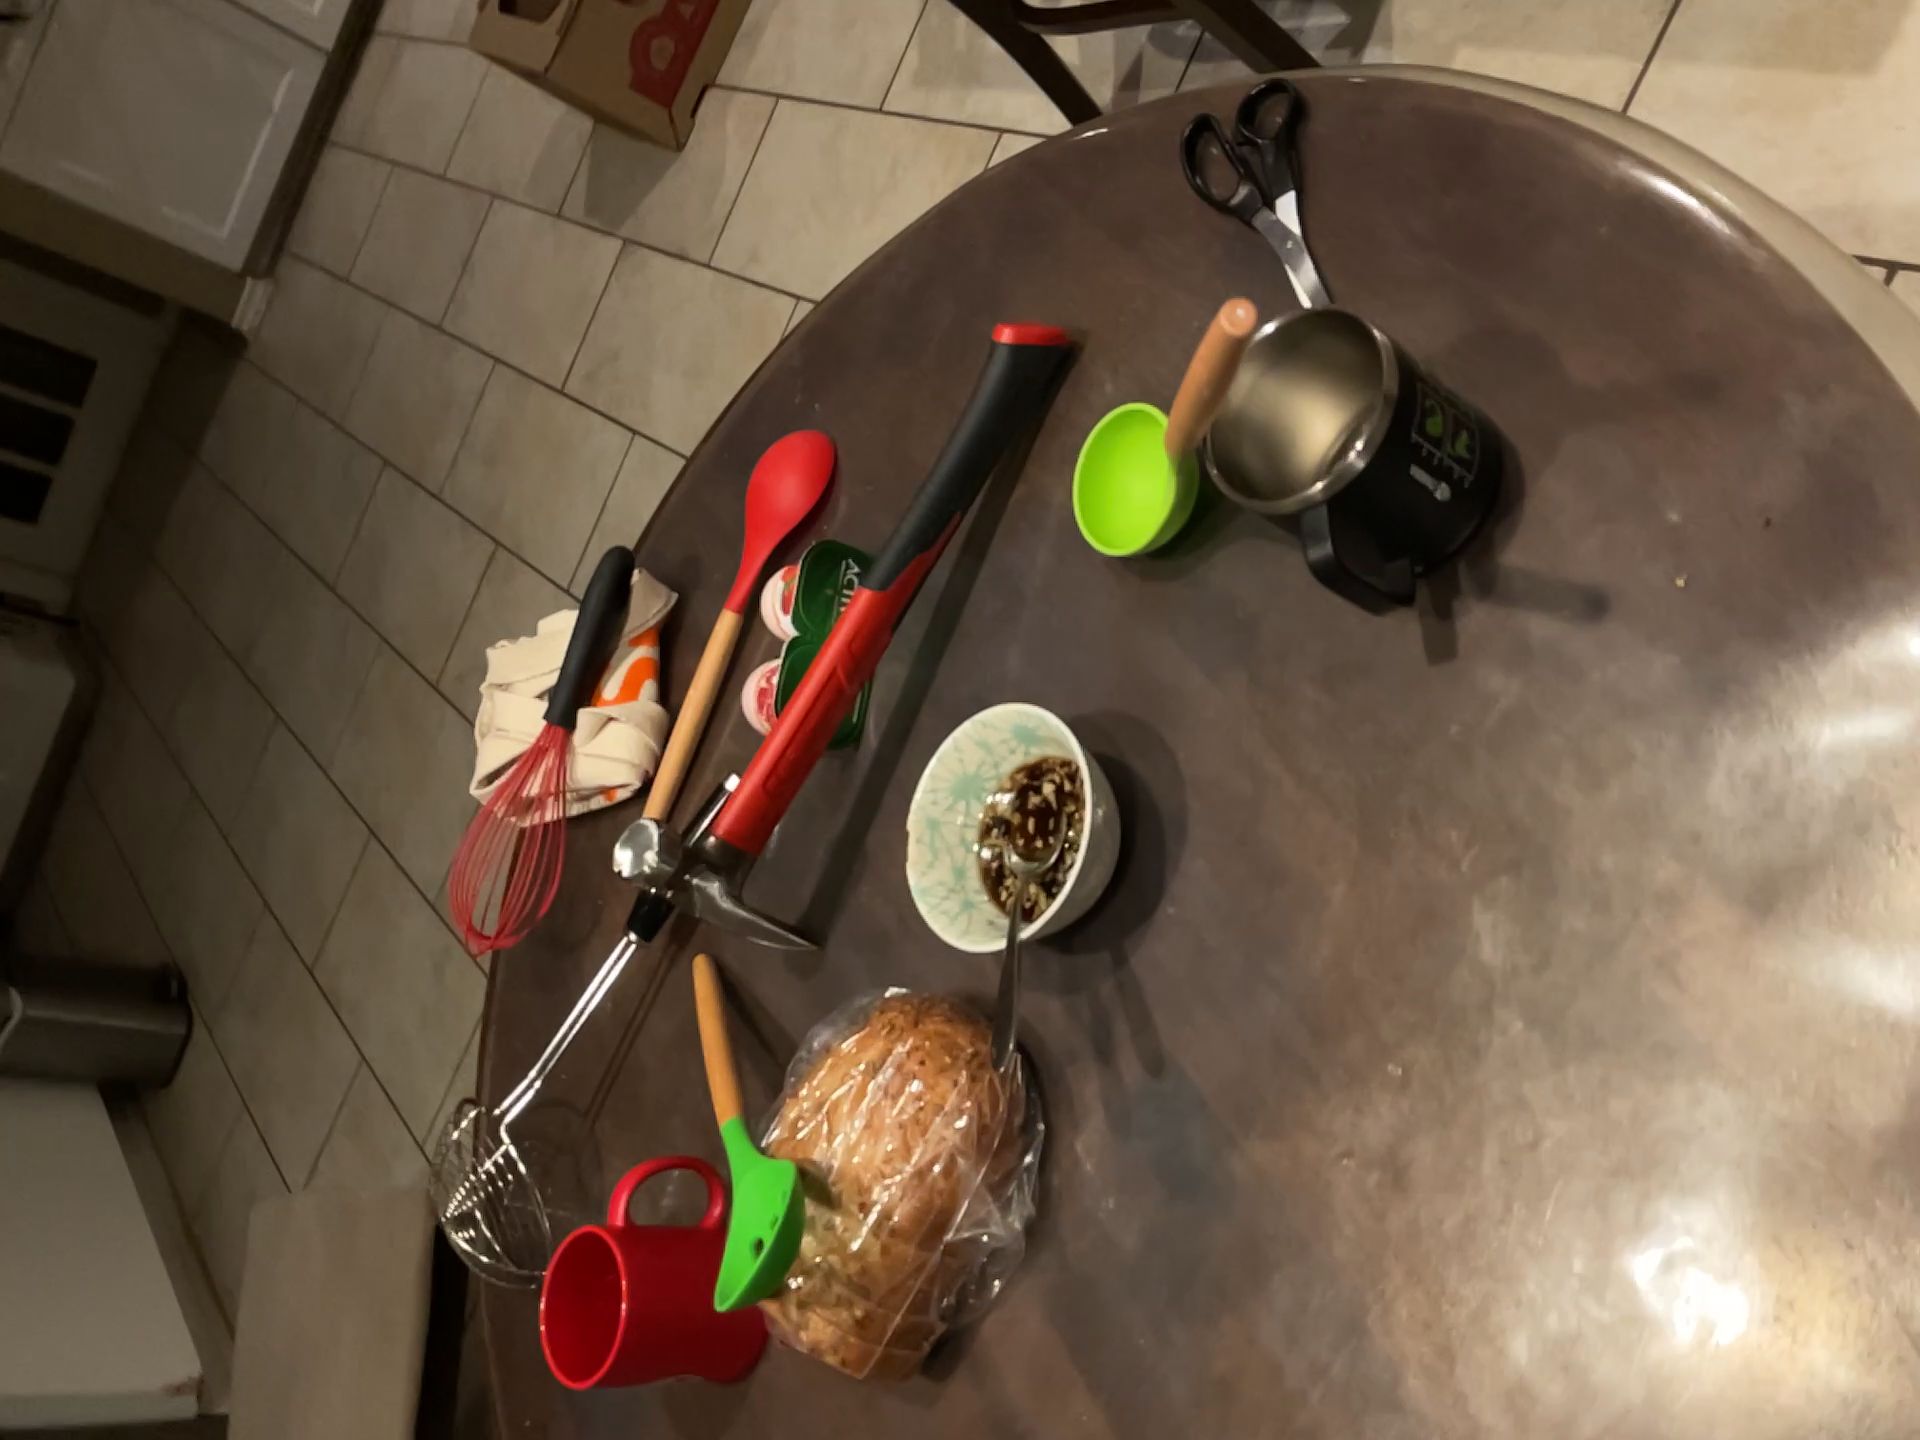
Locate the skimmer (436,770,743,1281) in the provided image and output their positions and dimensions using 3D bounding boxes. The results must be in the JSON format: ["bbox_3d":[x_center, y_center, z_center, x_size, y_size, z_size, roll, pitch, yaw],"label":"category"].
[{"bbox_3d":[-0.223,0.195,1.026,0.127,0.090,0.363,36,92,38],"label":"skimmer"}]

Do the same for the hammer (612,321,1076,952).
[{"bbox_3d":[-0.039,-0.051,0.895,0.038,0.143,0.386,28,85,46],"label":"hammer"}]

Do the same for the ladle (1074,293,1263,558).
[{"bbox_3d":[0.085,-0.125,0.670,0.062,0.320,0.078,2,88,2],"label":"ladle"}]

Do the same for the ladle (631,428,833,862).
[{"bbox_3d":[-0.159,-0.049,1.052,0.069,0.031,0.315,28,98,47],"label":"ladle"}]

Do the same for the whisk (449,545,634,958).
[{"bbox_3d":[-0.279,0.021,1.075,0.073,0.073,0.296,19,89,48],"label":"whisk"}]

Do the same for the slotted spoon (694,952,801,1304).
[{"bbox_3d":[-0.123,0.201,0.849,0.070,0.031,0.314,-56,22,9],"label":"slotted spoon"}]
